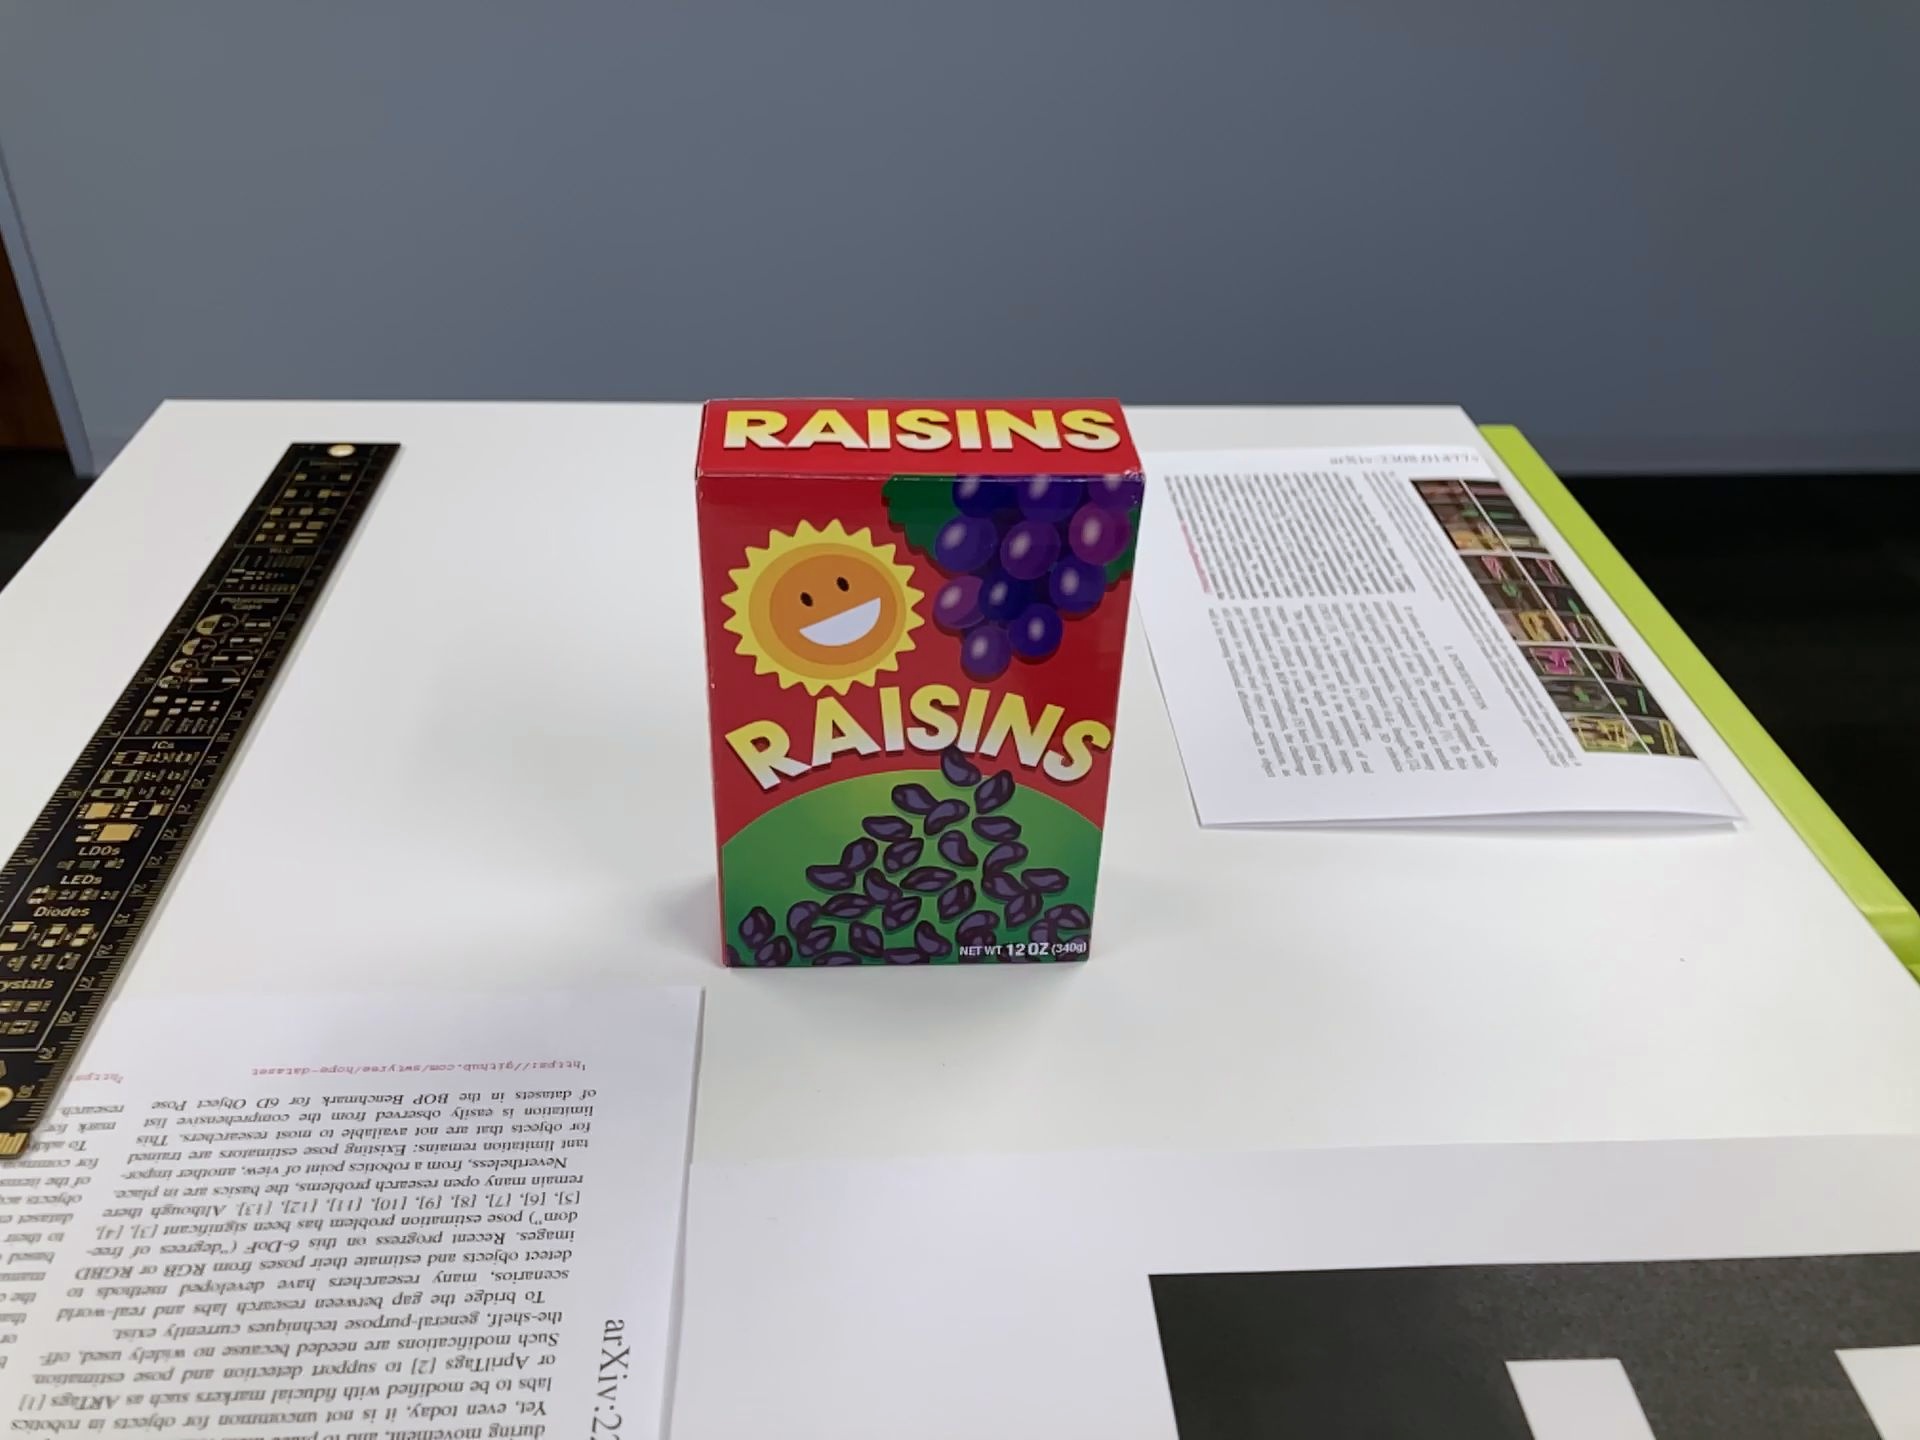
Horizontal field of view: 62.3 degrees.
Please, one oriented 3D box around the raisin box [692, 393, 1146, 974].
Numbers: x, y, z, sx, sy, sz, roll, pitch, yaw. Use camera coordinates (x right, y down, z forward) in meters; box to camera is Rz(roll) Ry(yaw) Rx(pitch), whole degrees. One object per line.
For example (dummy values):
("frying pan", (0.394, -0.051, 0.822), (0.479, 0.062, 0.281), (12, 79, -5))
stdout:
("raisin box", (-0.010, -0.005, 0.336), (0.086, 0.123, 0.040), (0, 34, -4))
